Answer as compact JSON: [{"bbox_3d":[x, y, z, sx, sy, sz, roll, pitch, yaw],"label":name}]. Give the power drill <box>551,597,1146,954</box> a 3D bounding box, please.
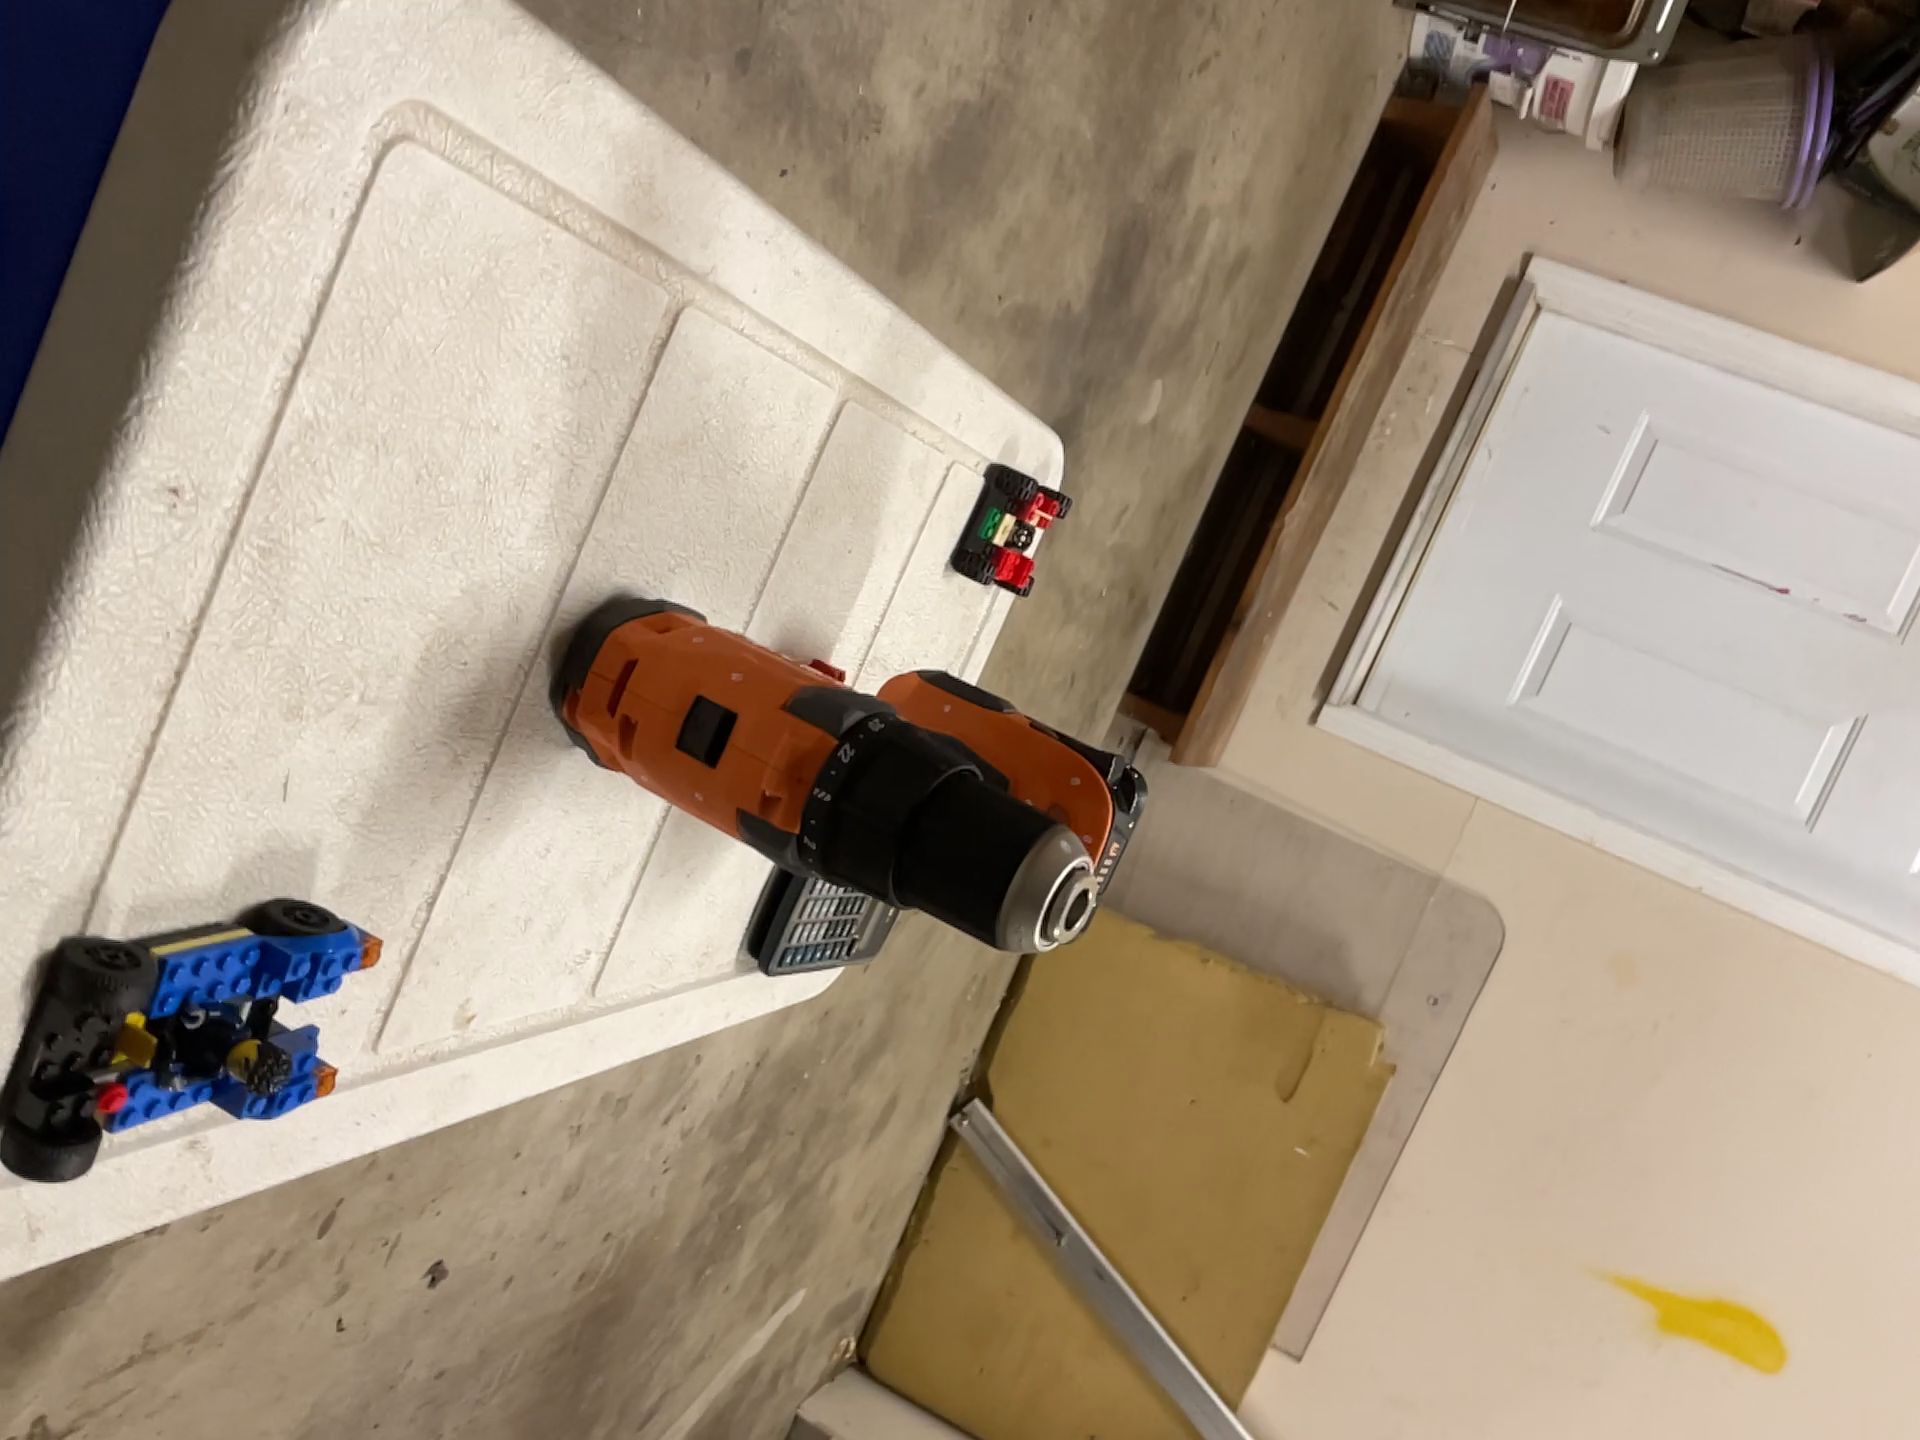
[{"bbox_3d":[-0.008,0.030,0.564,0.226,0.185,0.084,19,95,-63],"label":"power drill"}]
